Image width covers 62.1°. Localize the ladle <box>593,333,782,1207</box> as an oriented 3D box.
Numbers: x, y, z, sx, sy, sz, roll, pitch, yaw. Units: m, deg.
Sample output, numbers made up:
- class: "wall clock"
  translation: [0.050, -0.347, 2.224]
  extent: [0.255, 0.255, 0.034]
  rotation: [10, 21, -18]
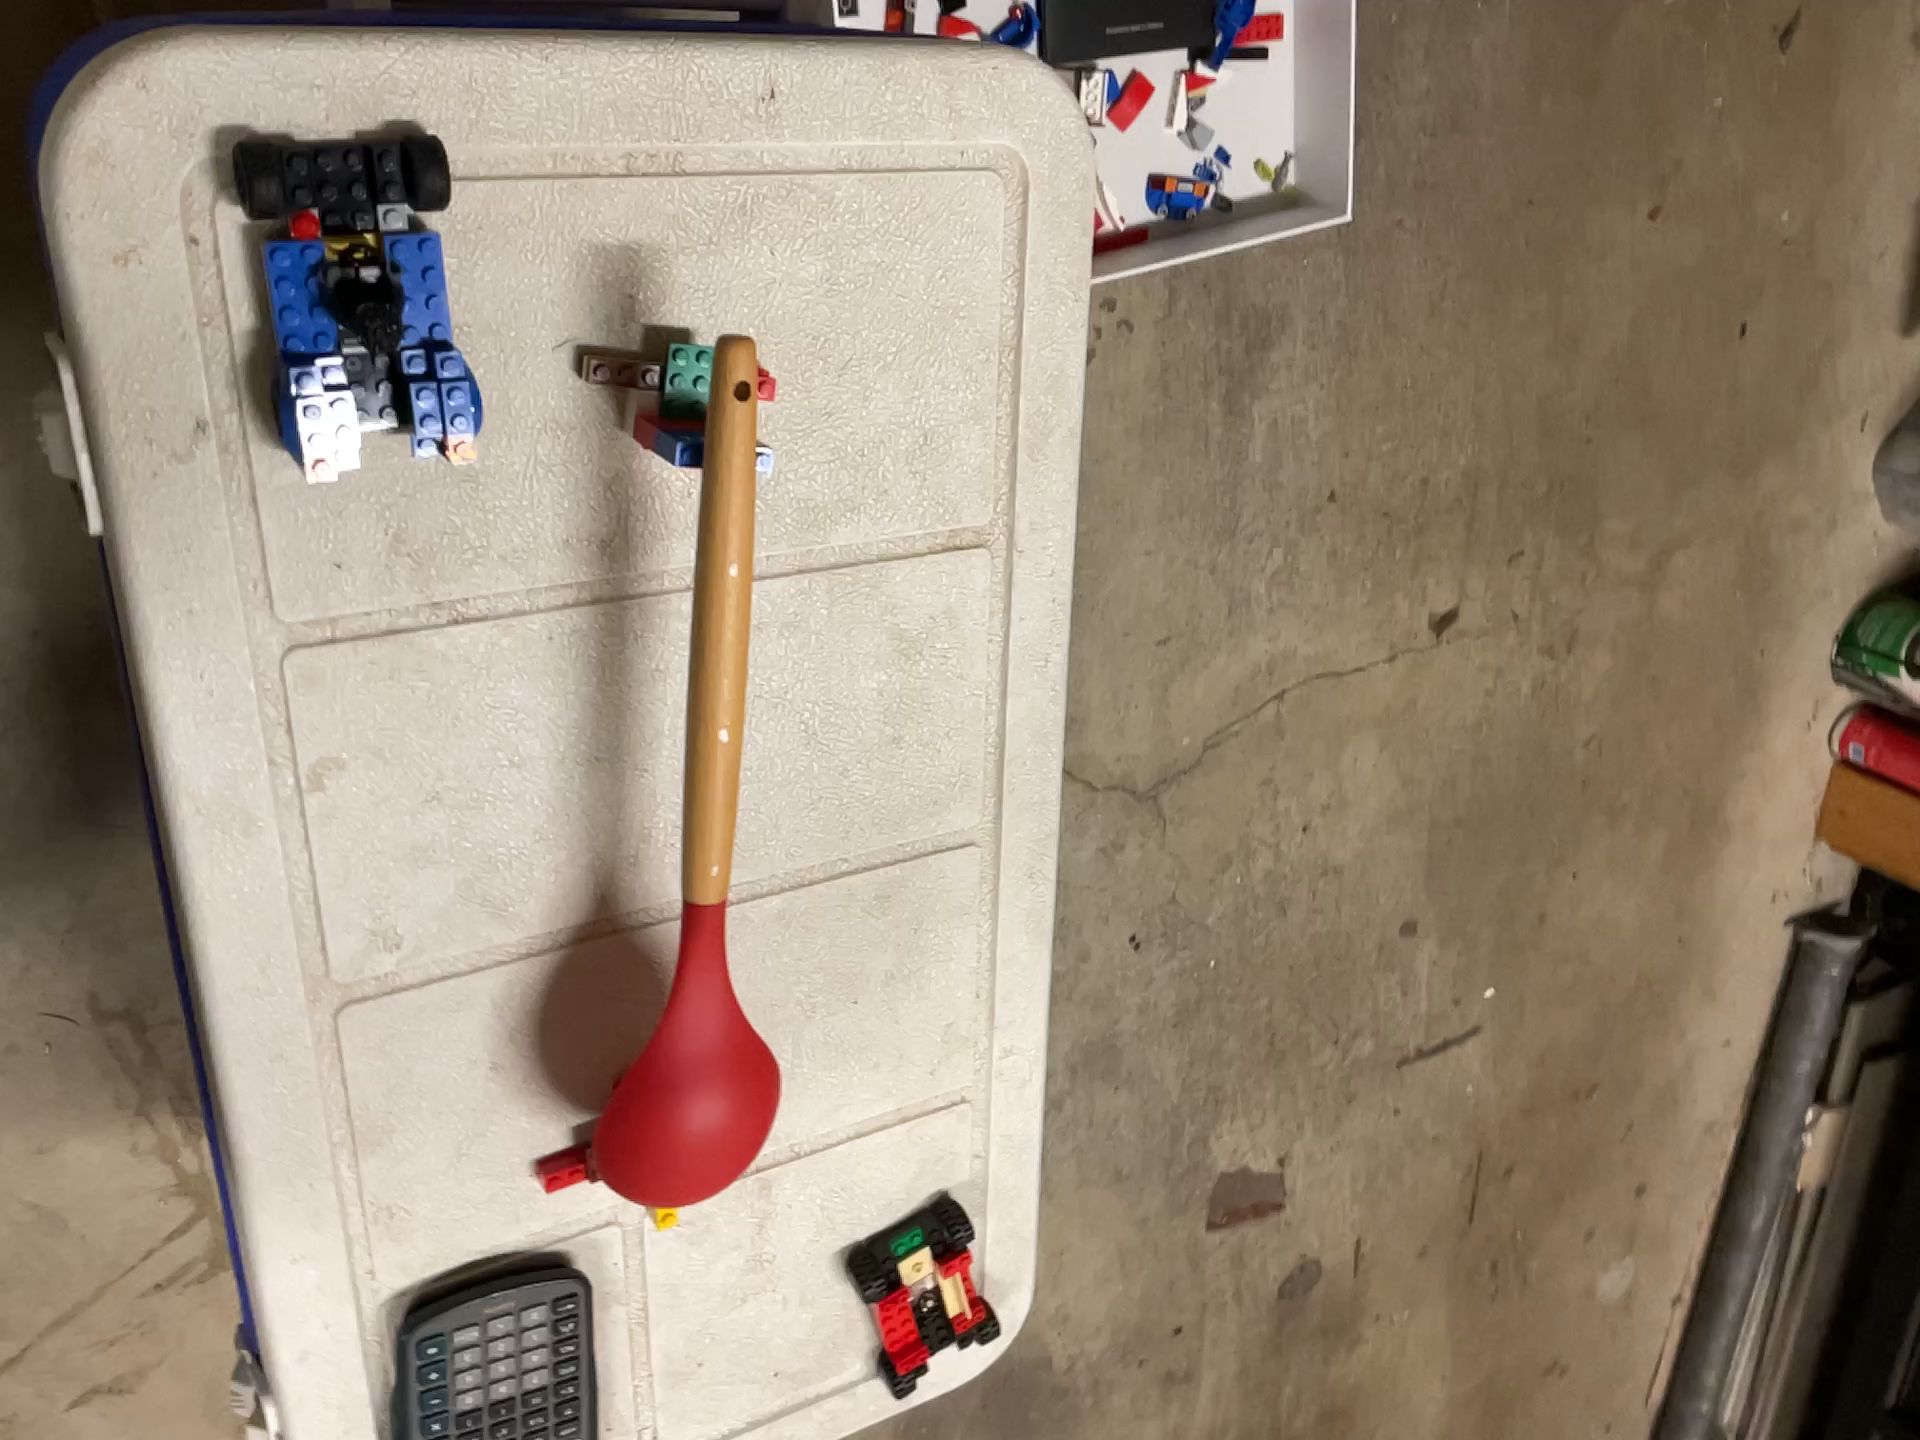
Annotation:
- class: "ladle"
  translation: [-0.082, 0.034, 0.523]
  extent: [0.069, 0.031, 0.315]
  rotation: [-6, 114, -30]
